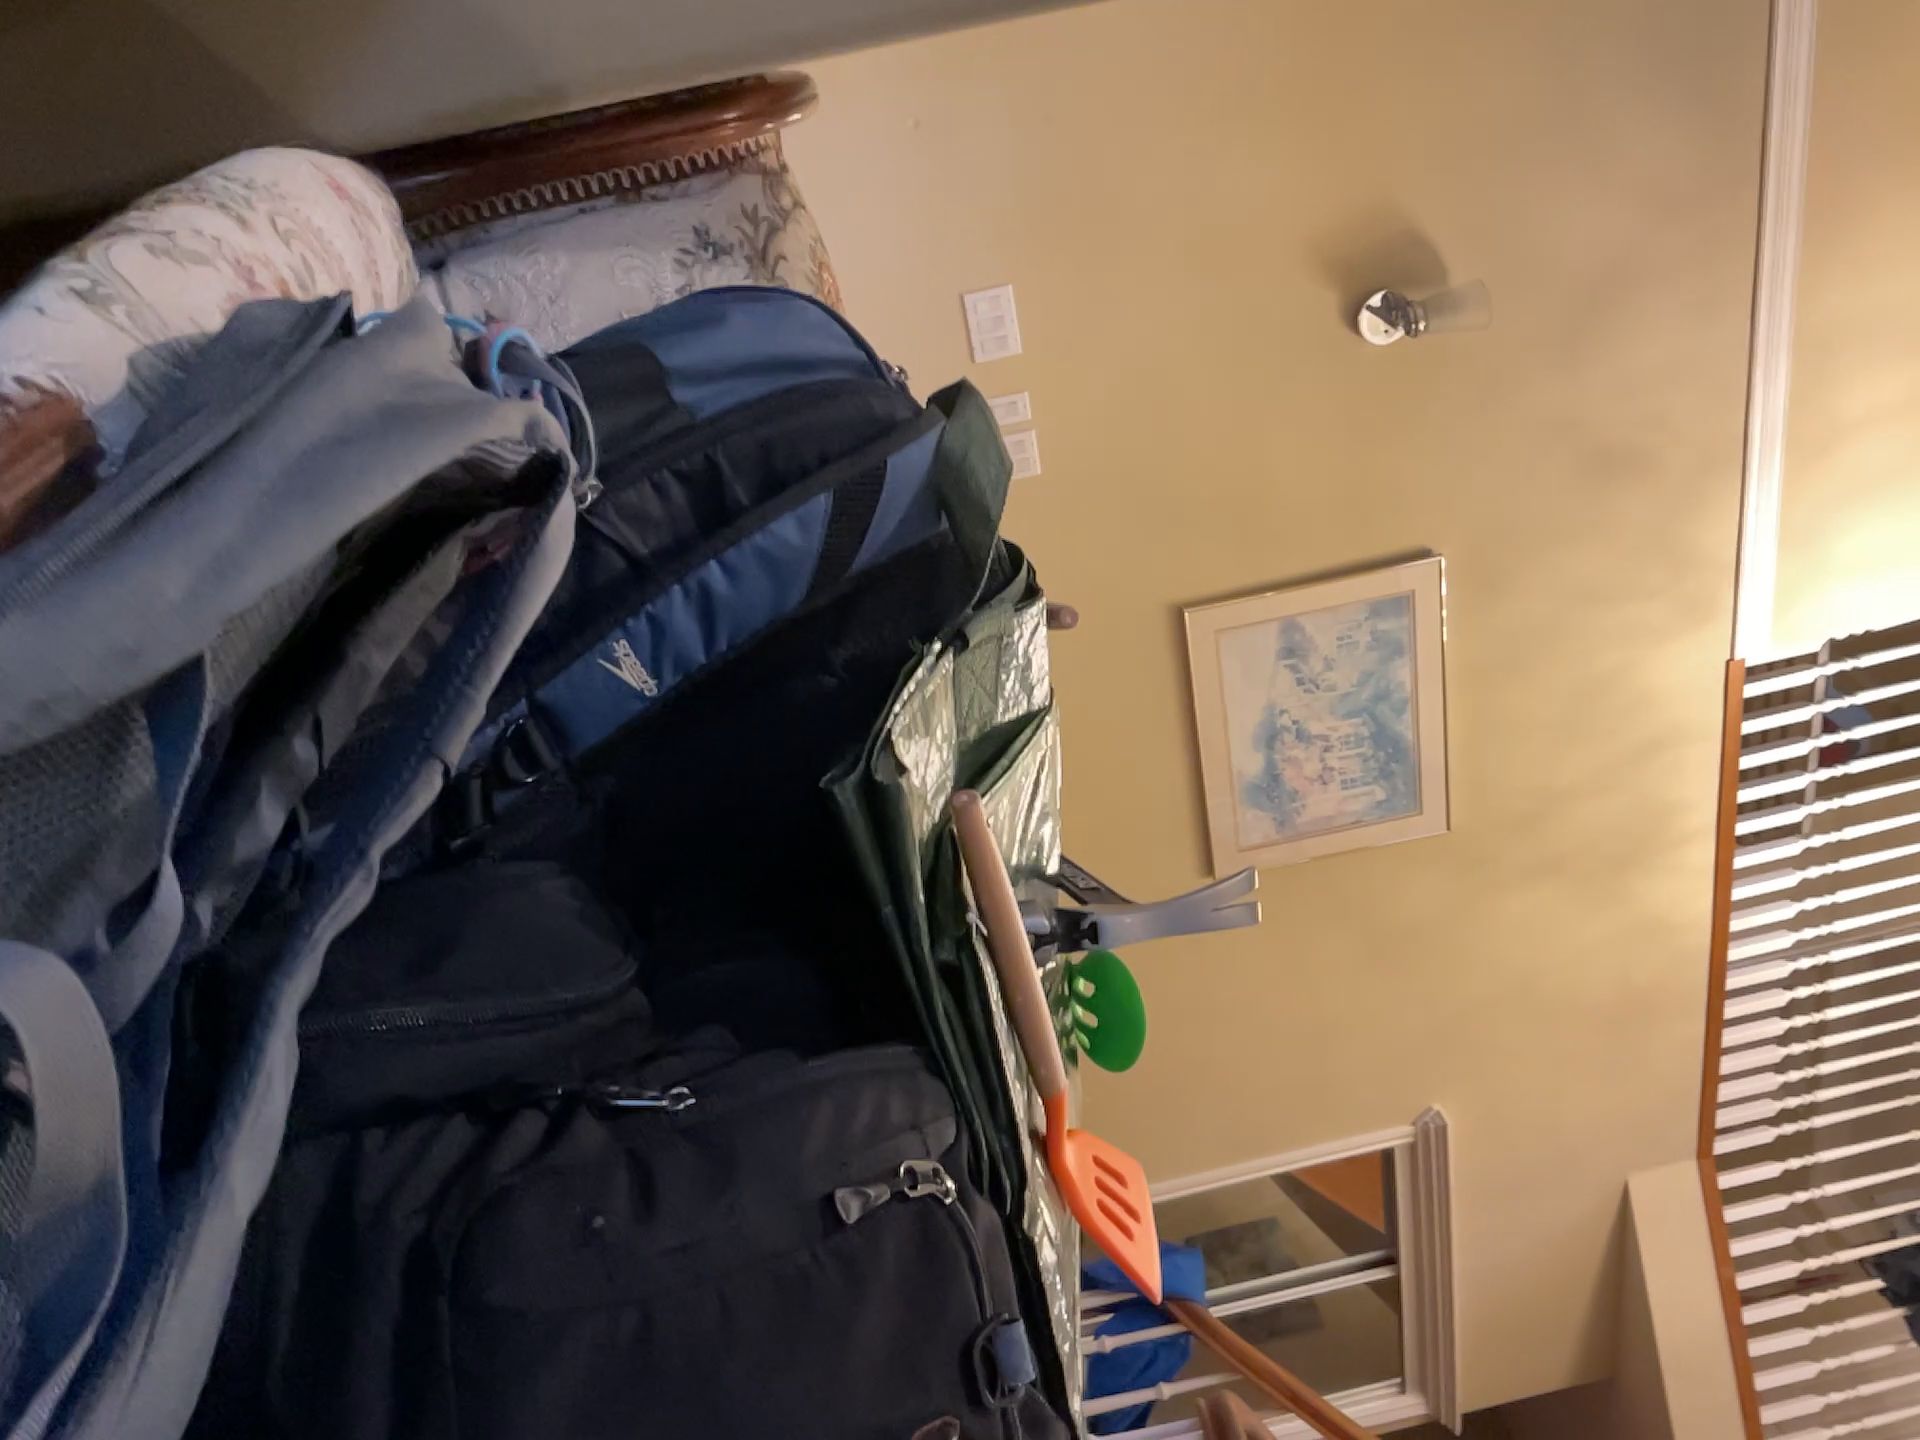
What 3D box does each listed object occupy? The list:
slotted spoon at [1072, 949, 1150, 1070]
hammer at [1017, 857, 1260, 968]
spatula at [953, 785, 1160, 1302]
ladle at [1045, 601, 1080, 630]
[{"bbox_3d":[0.058,0.156,1.043,0.314,0.031,0.070,-154,-114,-76],"label":"slotted spoon"},{"bbox_3d":[0.057,0.086,0.999,0.409,0.149,0.036,-151,-124,-79],"label":"hammer"},{"bbox_3d":[0.047,0.151,0.732,0.081,0.041,0.322,-93,169,-52],"label":"spatula"},{"bbox_3d":[0.042,-0.064,0.995,0.320,0.062,0.078,-156,-102,-79],"label":"ladle"}]
